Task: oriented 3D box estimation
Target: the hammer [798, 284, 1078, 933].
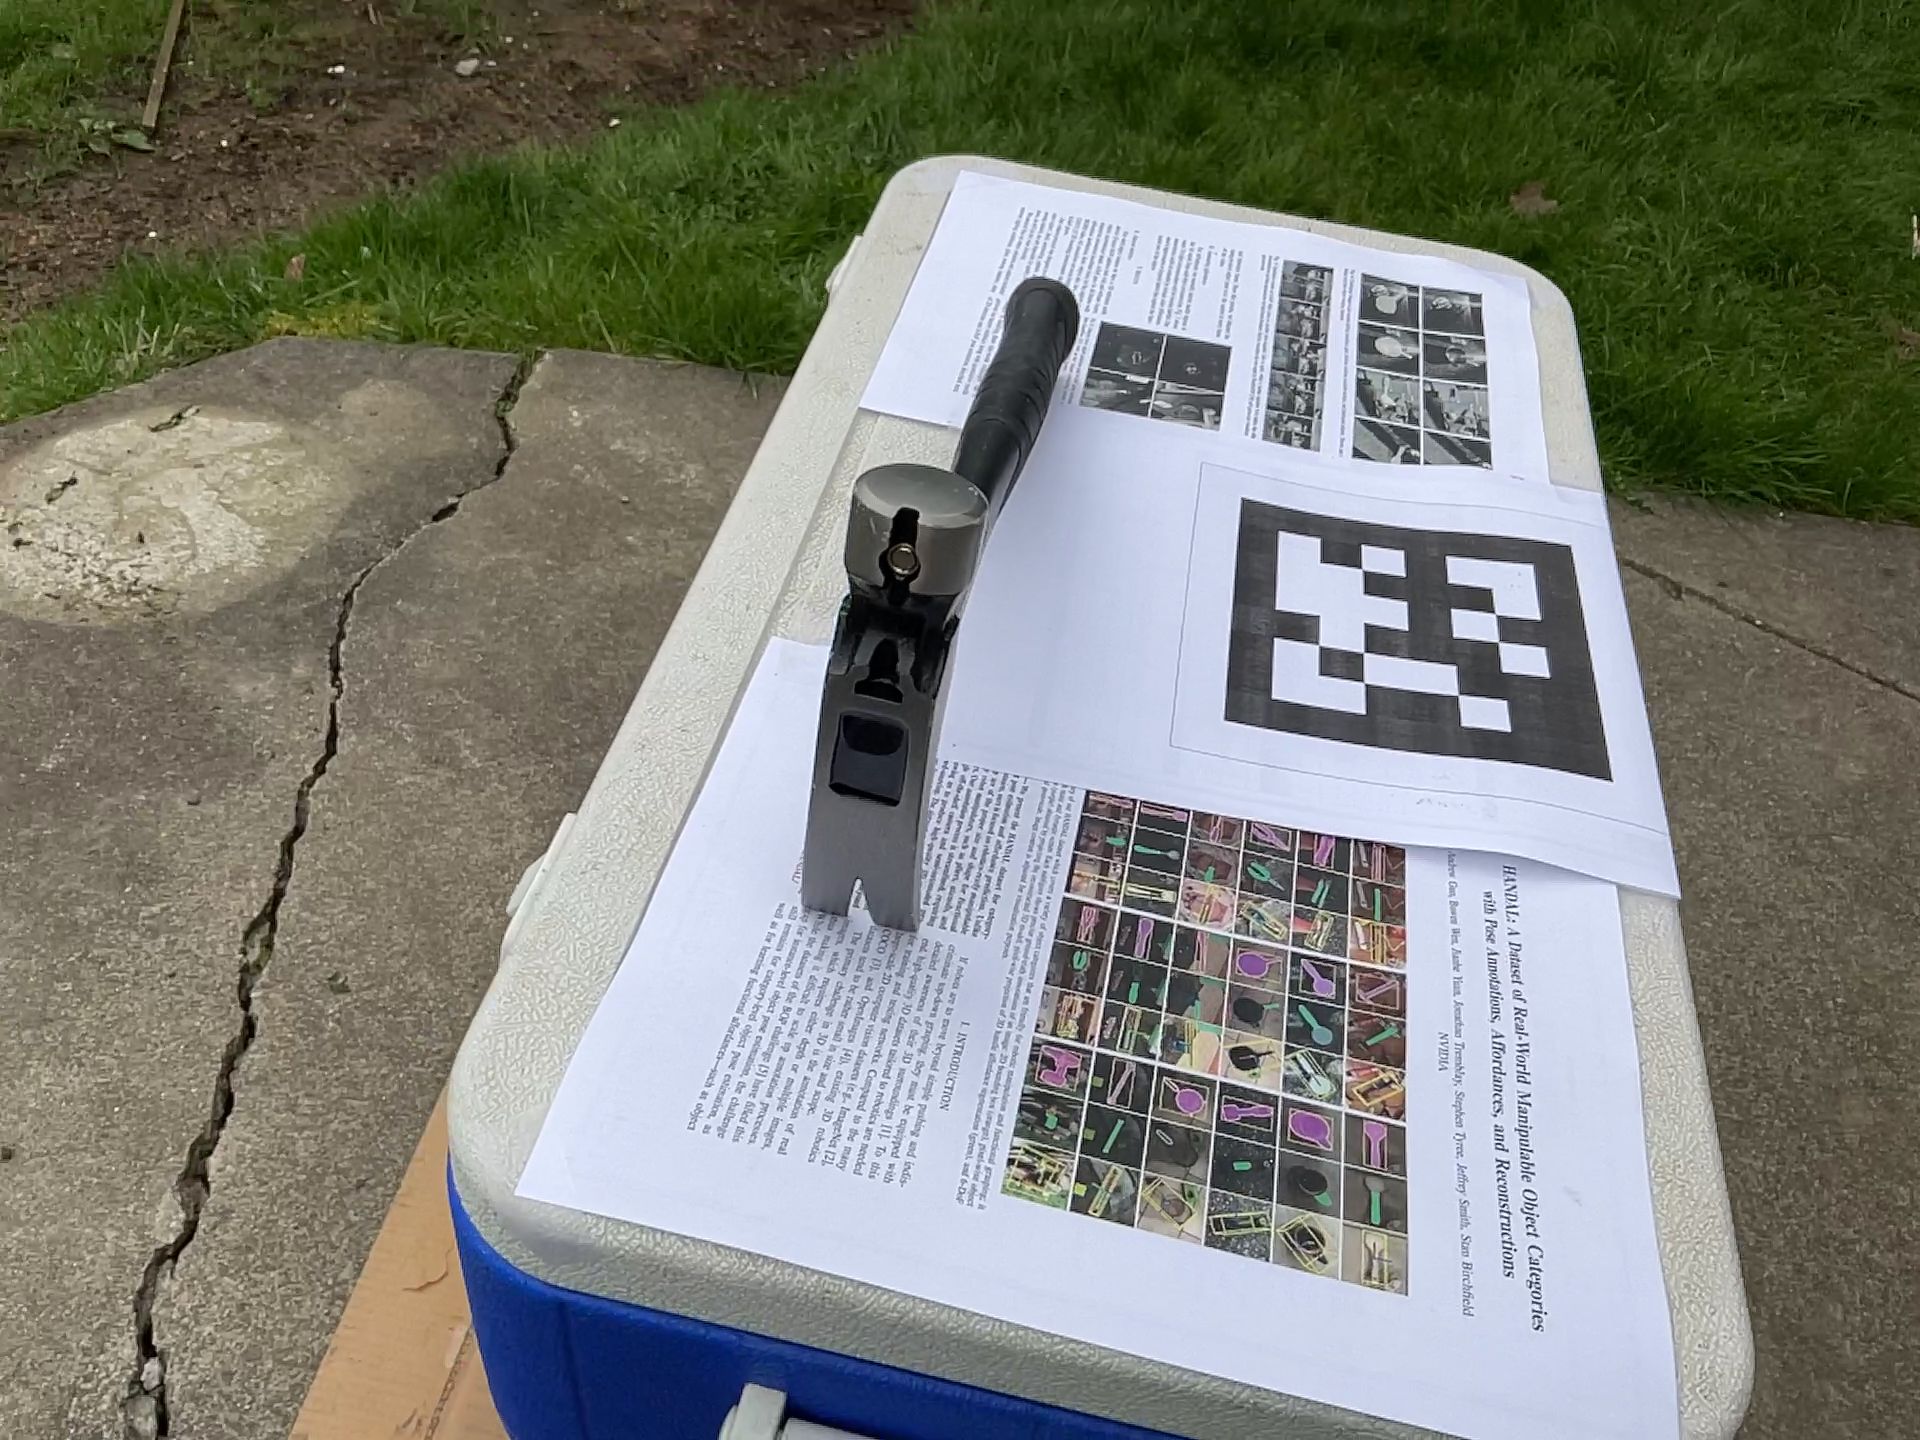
[{"bbox_3d":[0.004,-0.072,0.536,0.035,0.146,0.335,13,33,3],"label":"hammer"}]
